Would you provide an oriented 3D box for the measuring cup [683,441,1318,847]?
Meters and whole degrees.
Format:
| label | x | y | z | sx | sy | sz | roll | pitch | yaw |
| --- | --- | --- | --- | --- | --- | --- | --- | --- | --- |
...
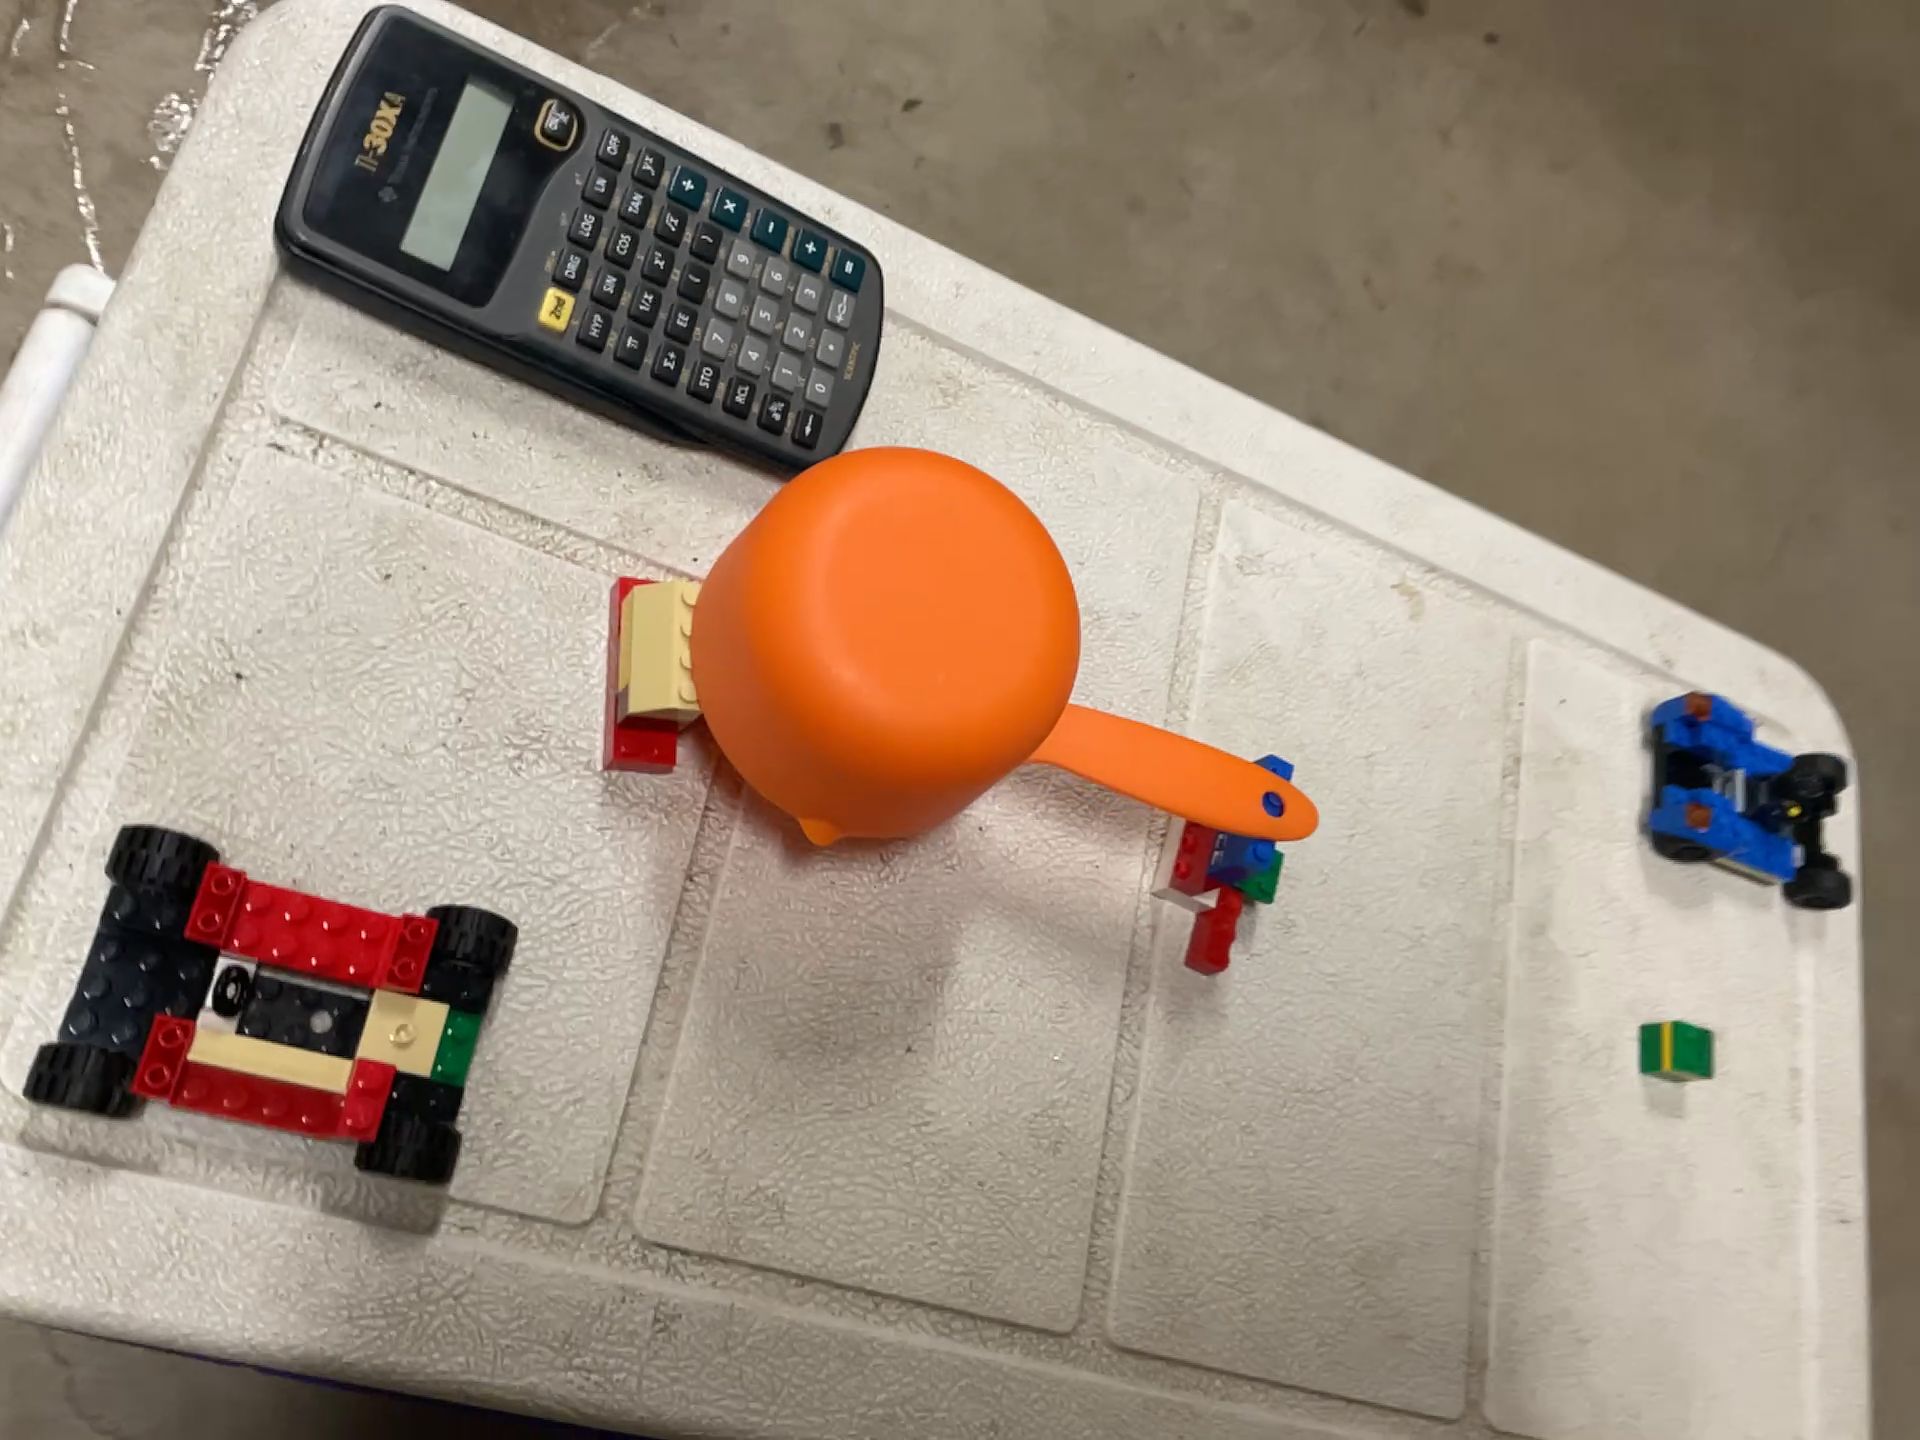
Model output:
| label | x | y | z | sx | sy | sz | roll | pitch | yaw |
| --- | --- | --- | --- | --- | --- | --- | --- | --- | --- |
| measuring cup | 0.023 | -0.007 | 0.381 | 0.173 | 0.052 | 0.095 | 20 | 67 | -14 |
